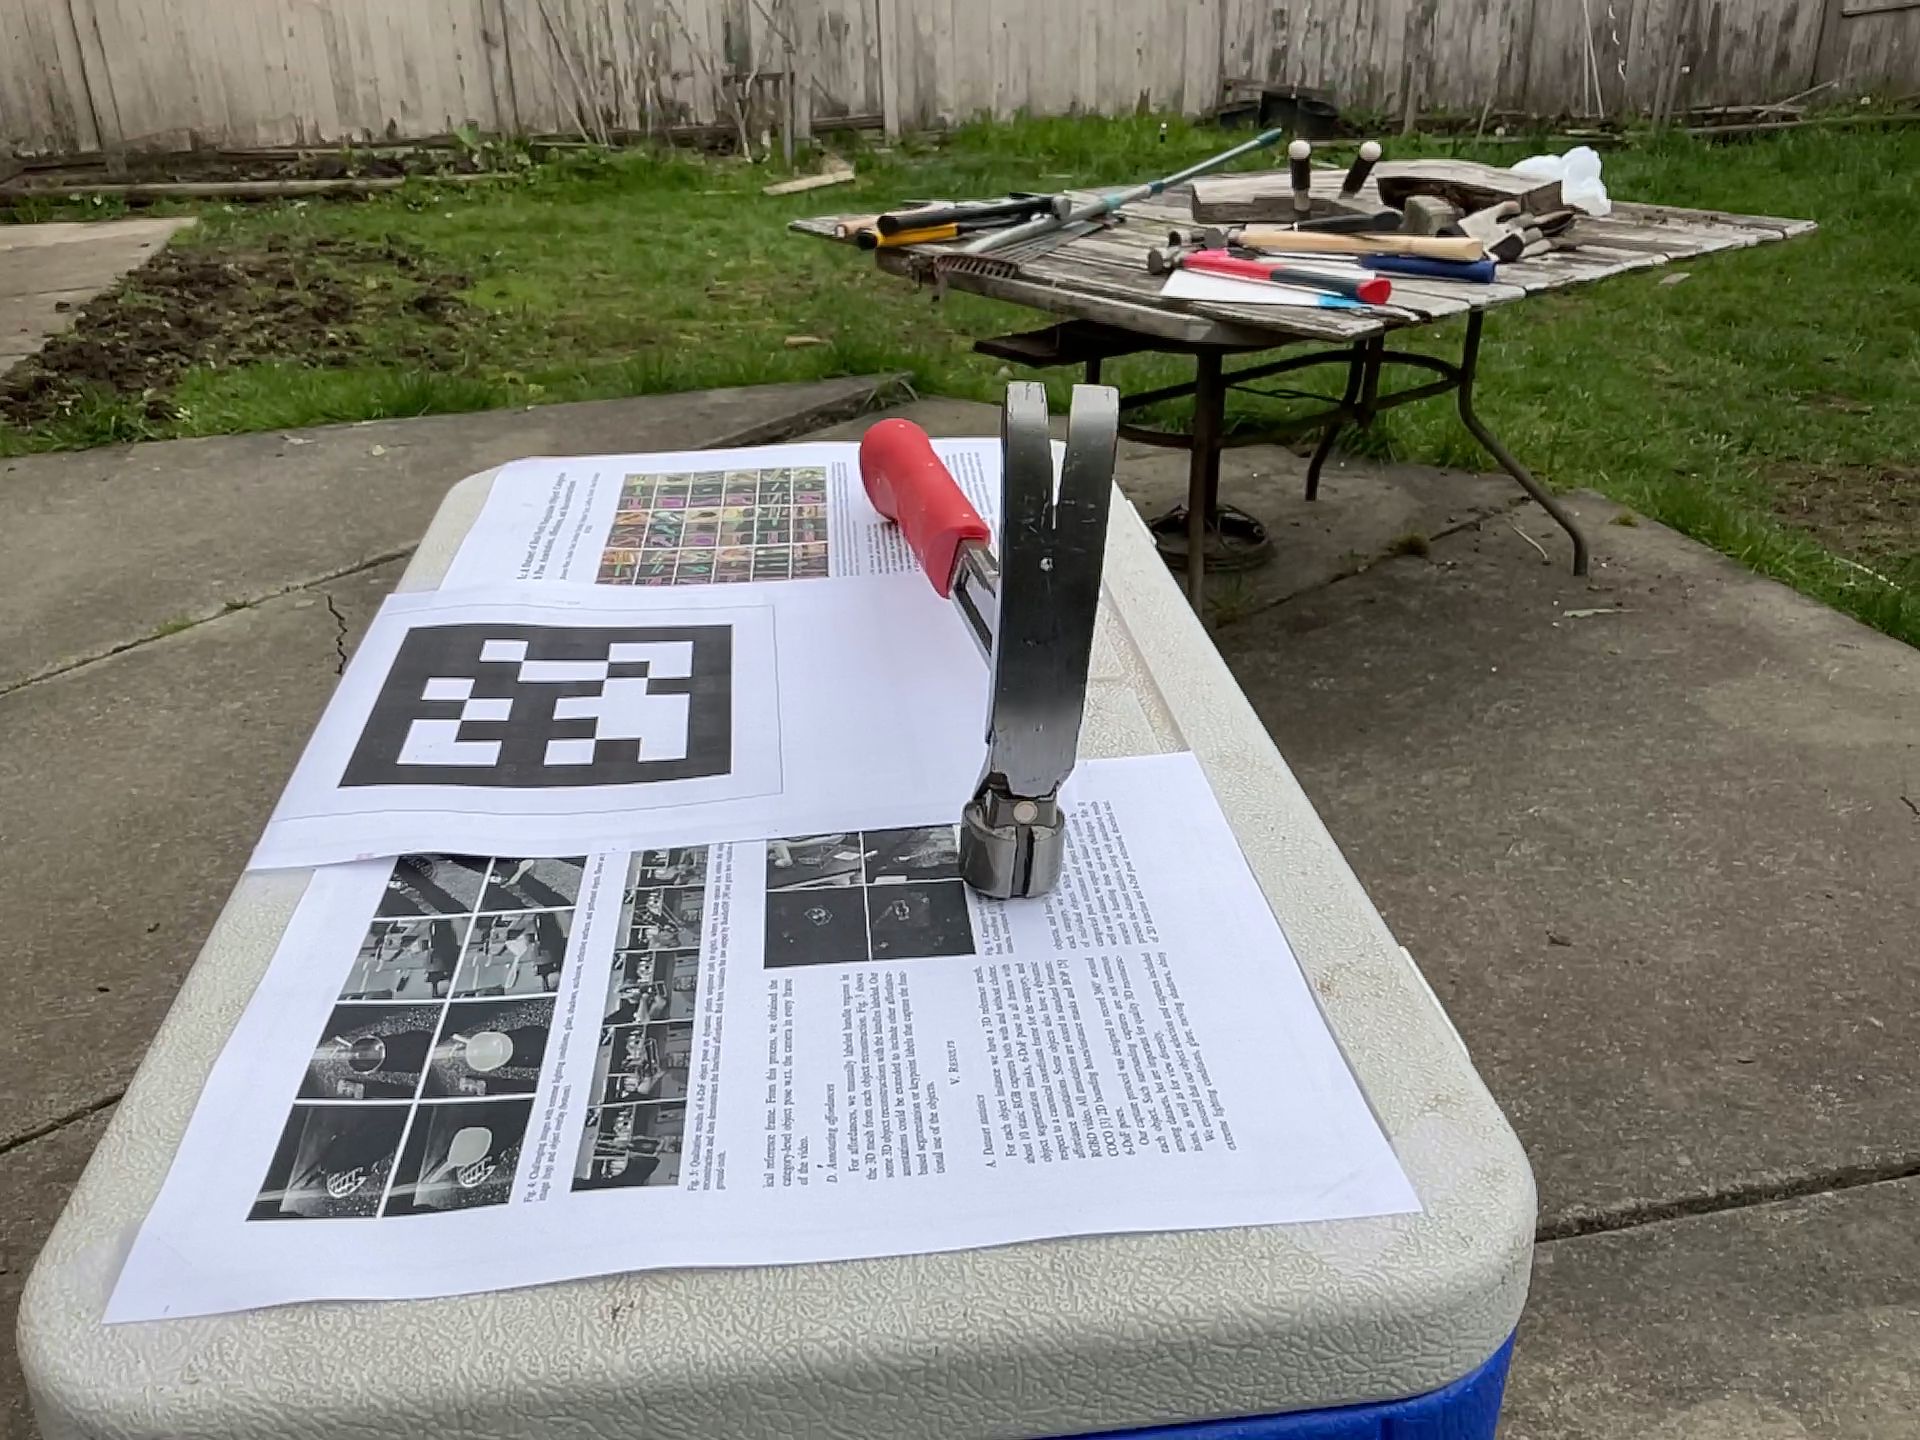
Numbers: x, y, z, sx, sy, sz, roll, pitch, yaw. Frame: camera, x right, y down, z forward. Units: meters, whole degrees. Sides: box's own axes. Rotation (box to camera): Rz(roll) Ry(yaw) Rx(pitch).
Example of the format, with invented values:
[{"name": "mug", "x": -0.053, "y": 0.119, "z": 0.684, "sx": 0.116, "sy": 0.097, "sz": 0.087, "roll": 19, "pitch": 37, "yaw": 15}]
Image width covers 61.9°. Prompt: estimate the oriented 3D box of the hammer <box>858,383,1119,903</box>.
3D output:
[{"name": "hammer", "x": -0.004, "y": -0.076, "z": 0.602, "sx": 0.036, "sy": 0.149, "sz": 0.359, "roll": 1, "pitch": 20, "yaw": -9}]
